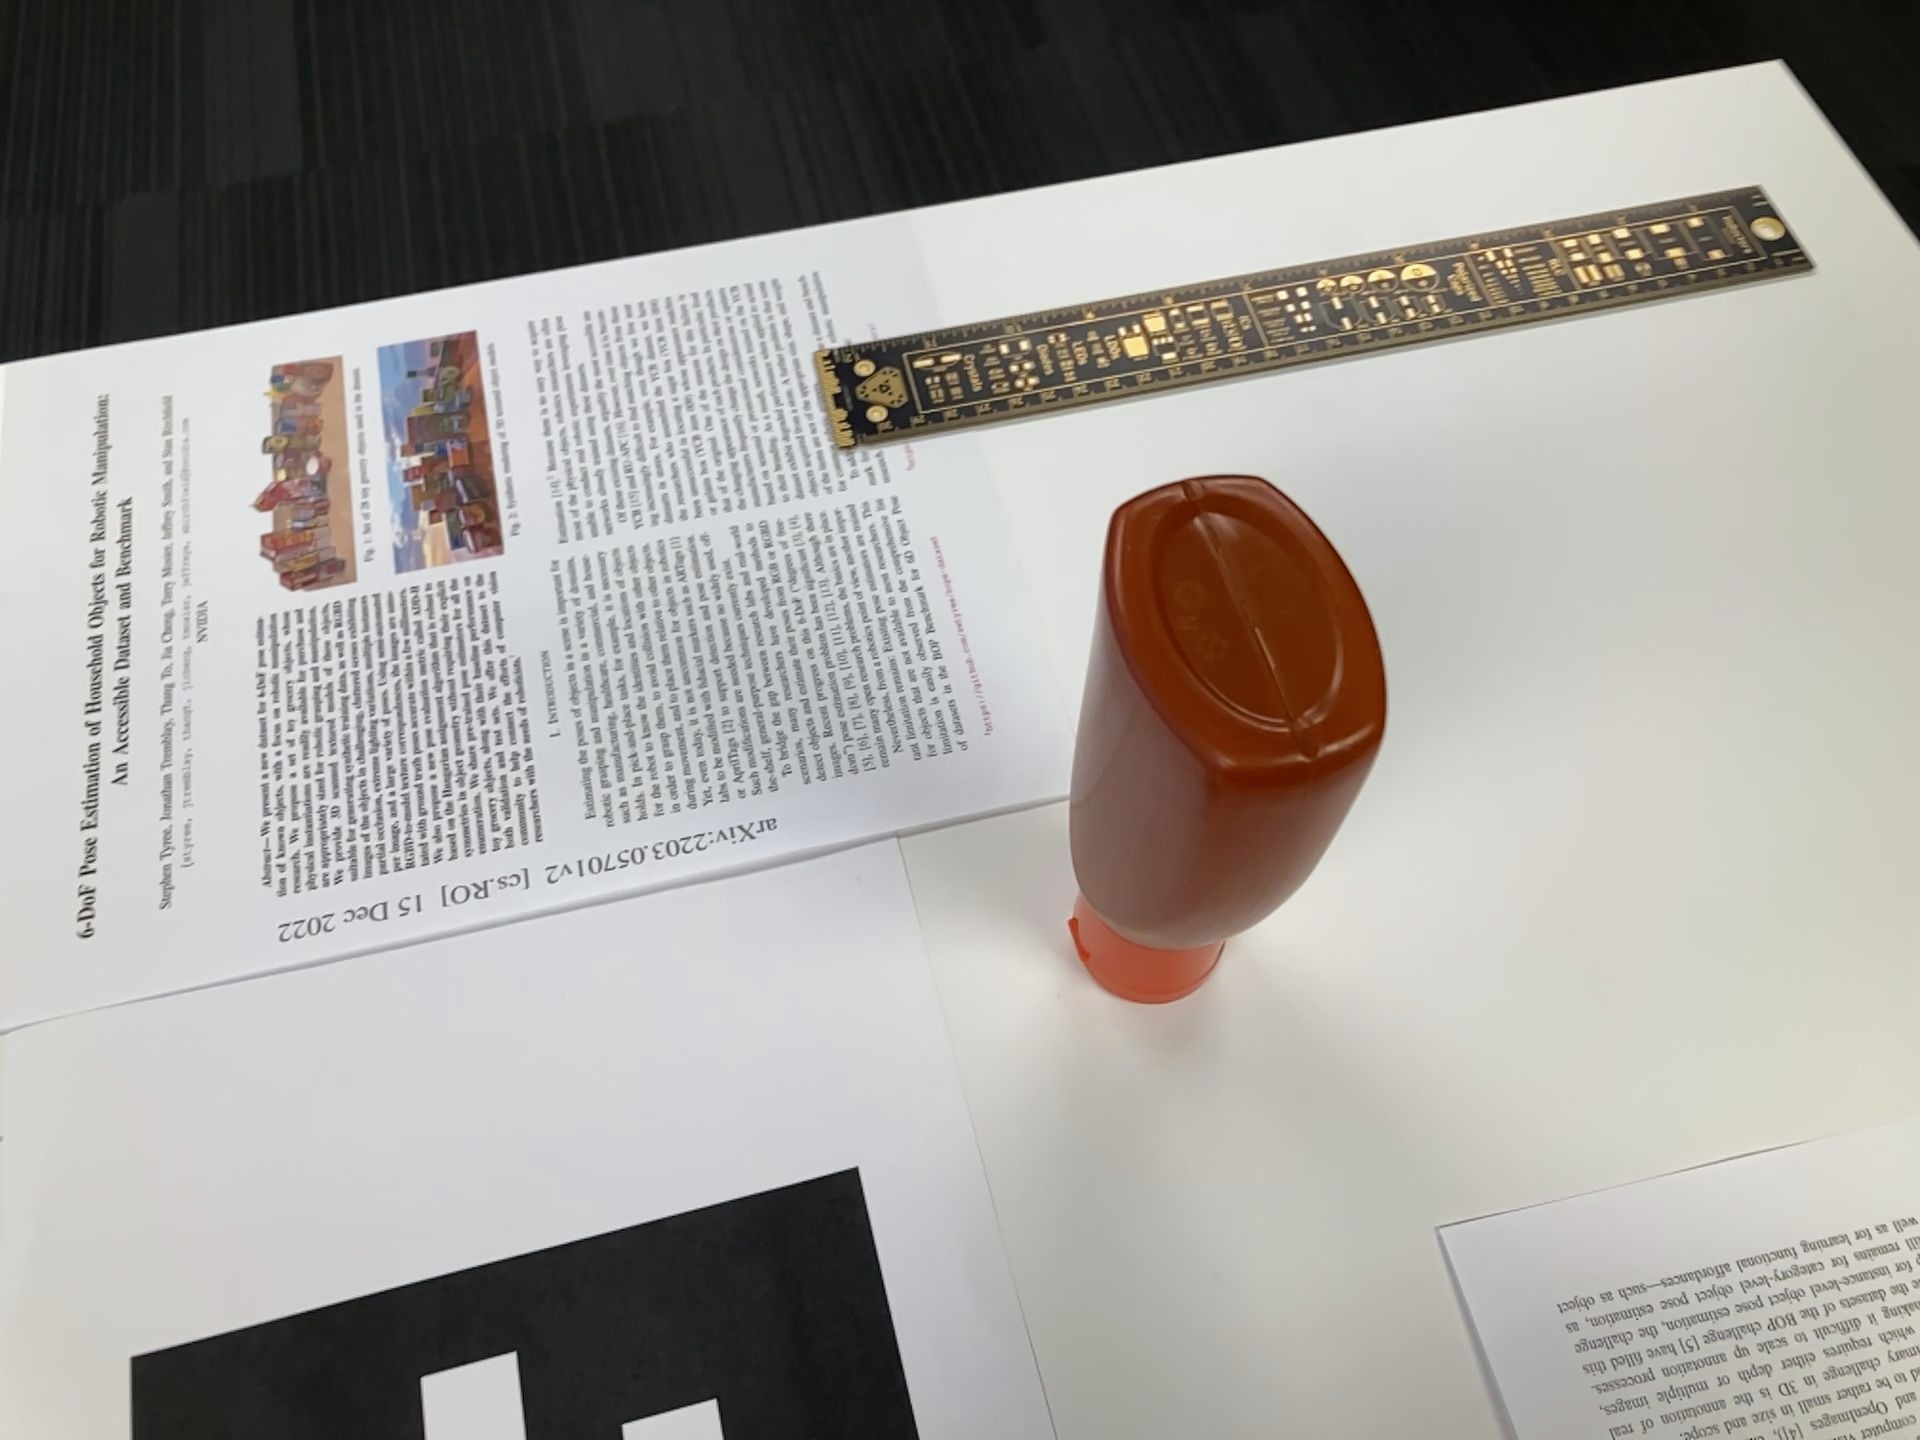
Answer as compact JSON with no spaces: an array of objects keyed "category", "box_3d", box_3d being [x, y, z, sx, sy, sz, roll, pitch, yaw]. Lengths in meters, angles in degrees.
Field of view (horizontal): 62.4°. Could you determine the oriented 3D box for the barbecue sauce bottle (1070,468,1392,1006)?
[{"category":"barbecue sauce bottle","box_3d":[0.047,0.017,0.327,0.043,0.148,0.065,-13,61,-9]}]
